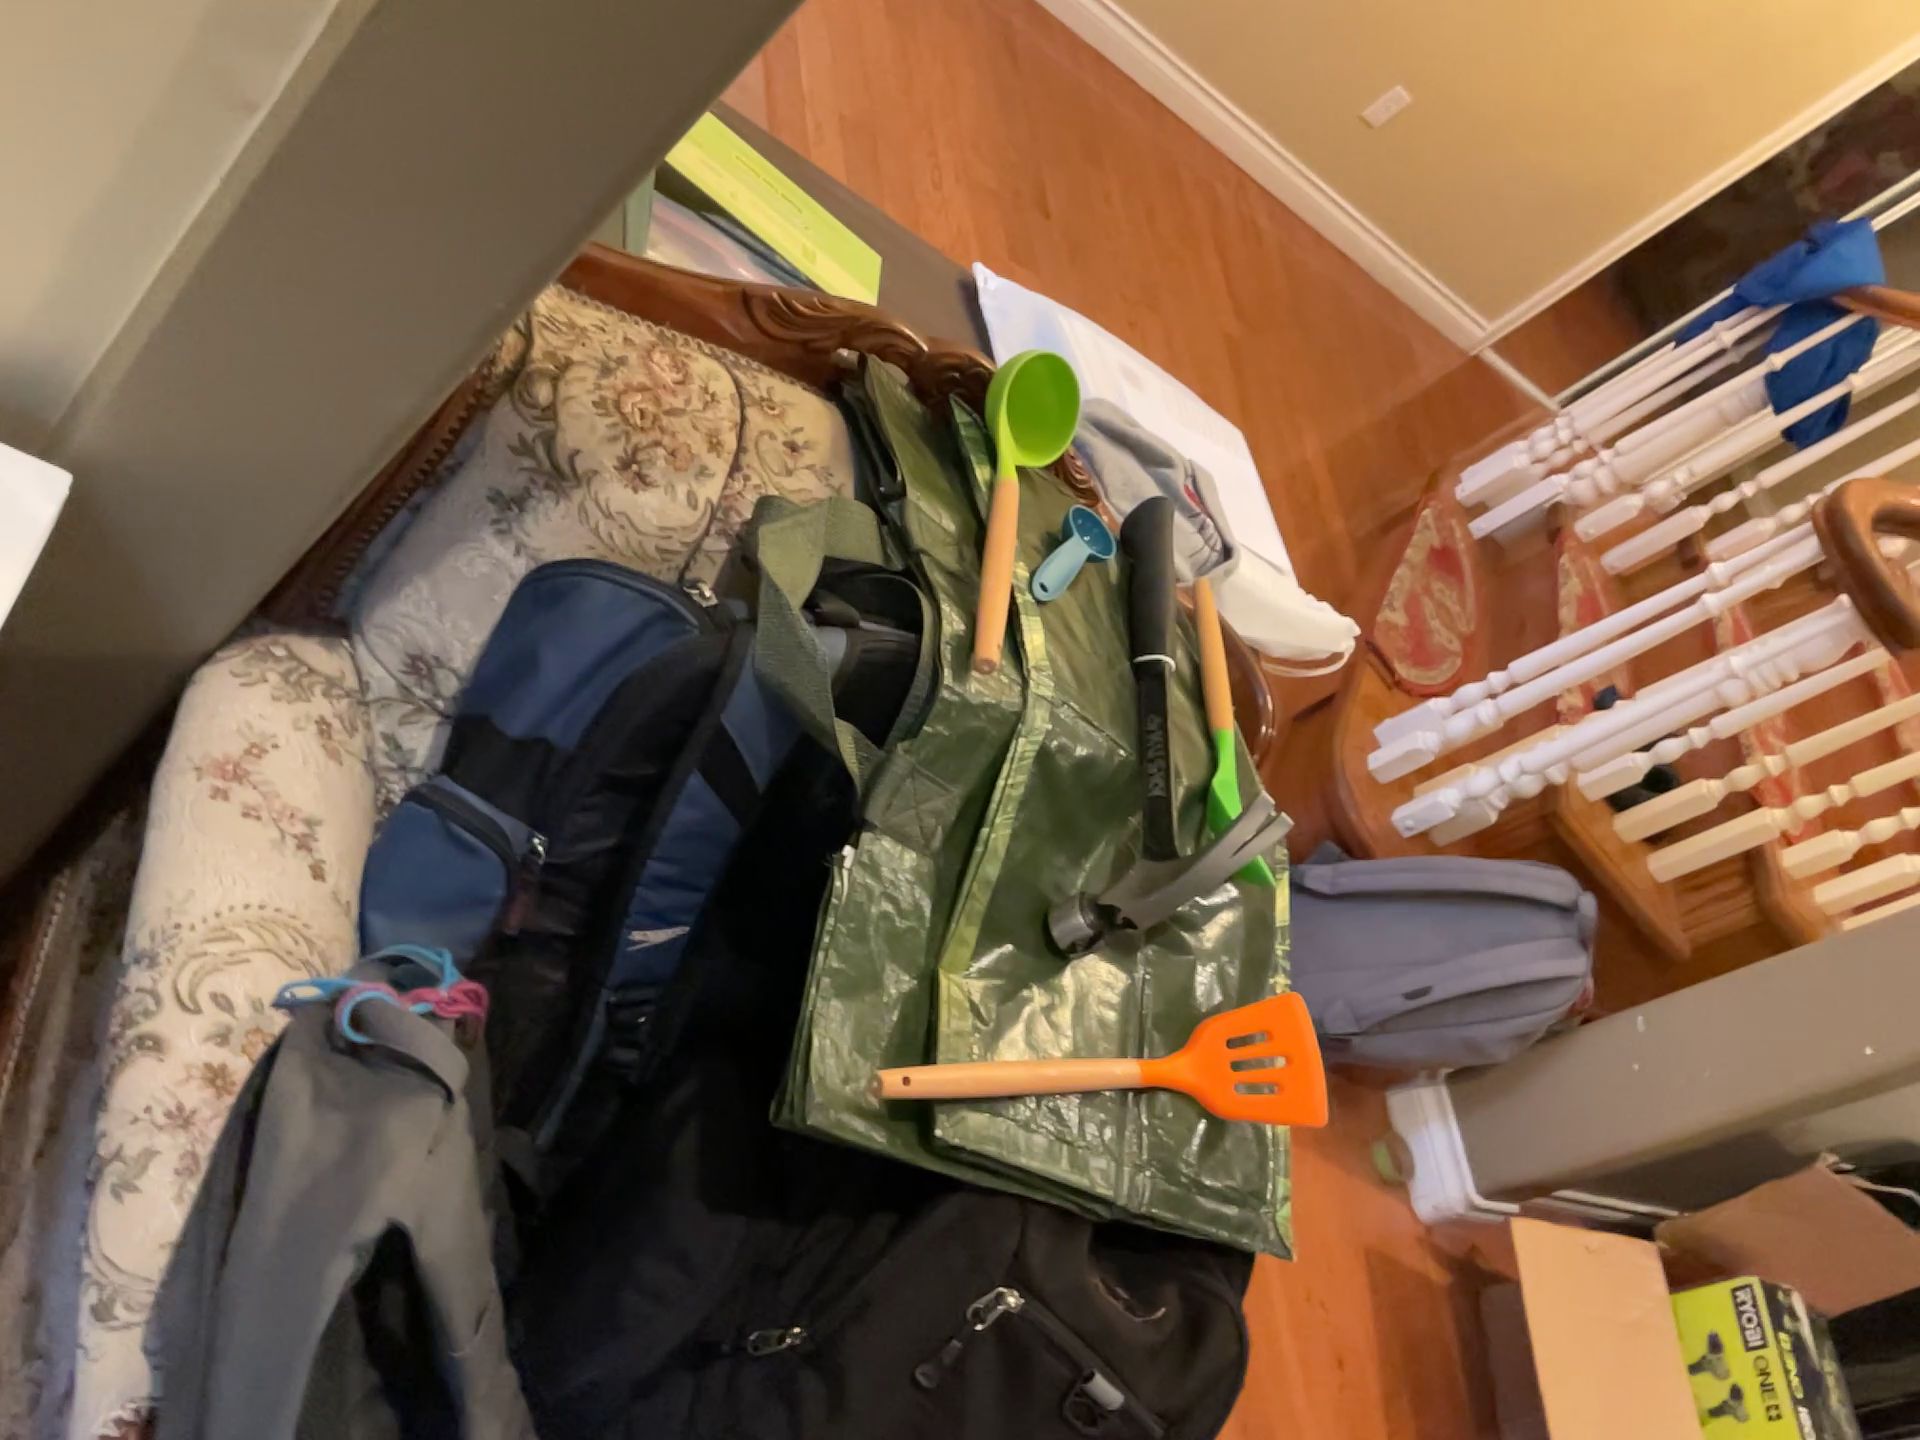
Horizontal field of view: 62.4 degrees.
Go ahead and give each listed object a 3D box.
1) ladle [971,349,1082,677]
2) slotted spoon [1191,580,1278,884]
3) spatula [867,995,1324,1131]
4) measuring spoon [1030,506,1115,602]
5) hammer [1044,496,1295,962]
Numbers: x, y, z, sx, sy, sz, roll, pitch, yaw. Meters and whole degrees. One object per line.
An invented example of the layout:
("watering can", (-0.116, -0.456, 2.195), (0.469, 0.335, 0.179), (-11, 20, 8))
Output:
("ladle", (0.037, -0.130, 0.964), (0.320, 0.062, 0.078), (-82, 153, -51))
("slotted spoon", (0.178, -0.003, 1.087), (0.070, 0.031, 0.314), (53, 24, -32))
("spatula", (0.083, 0.192, 0.864), (0.322, 0.041, 0.081), (10, 64, -42))
("measuring spoon", (0.064, -0.099, 1.005), (0.042, 0.021, 0.128), (50, 35, -6))
("hammer", (0.129, -0.027, 1.025), (0.036, 0.149, 0.409), (47, 30, -28))
